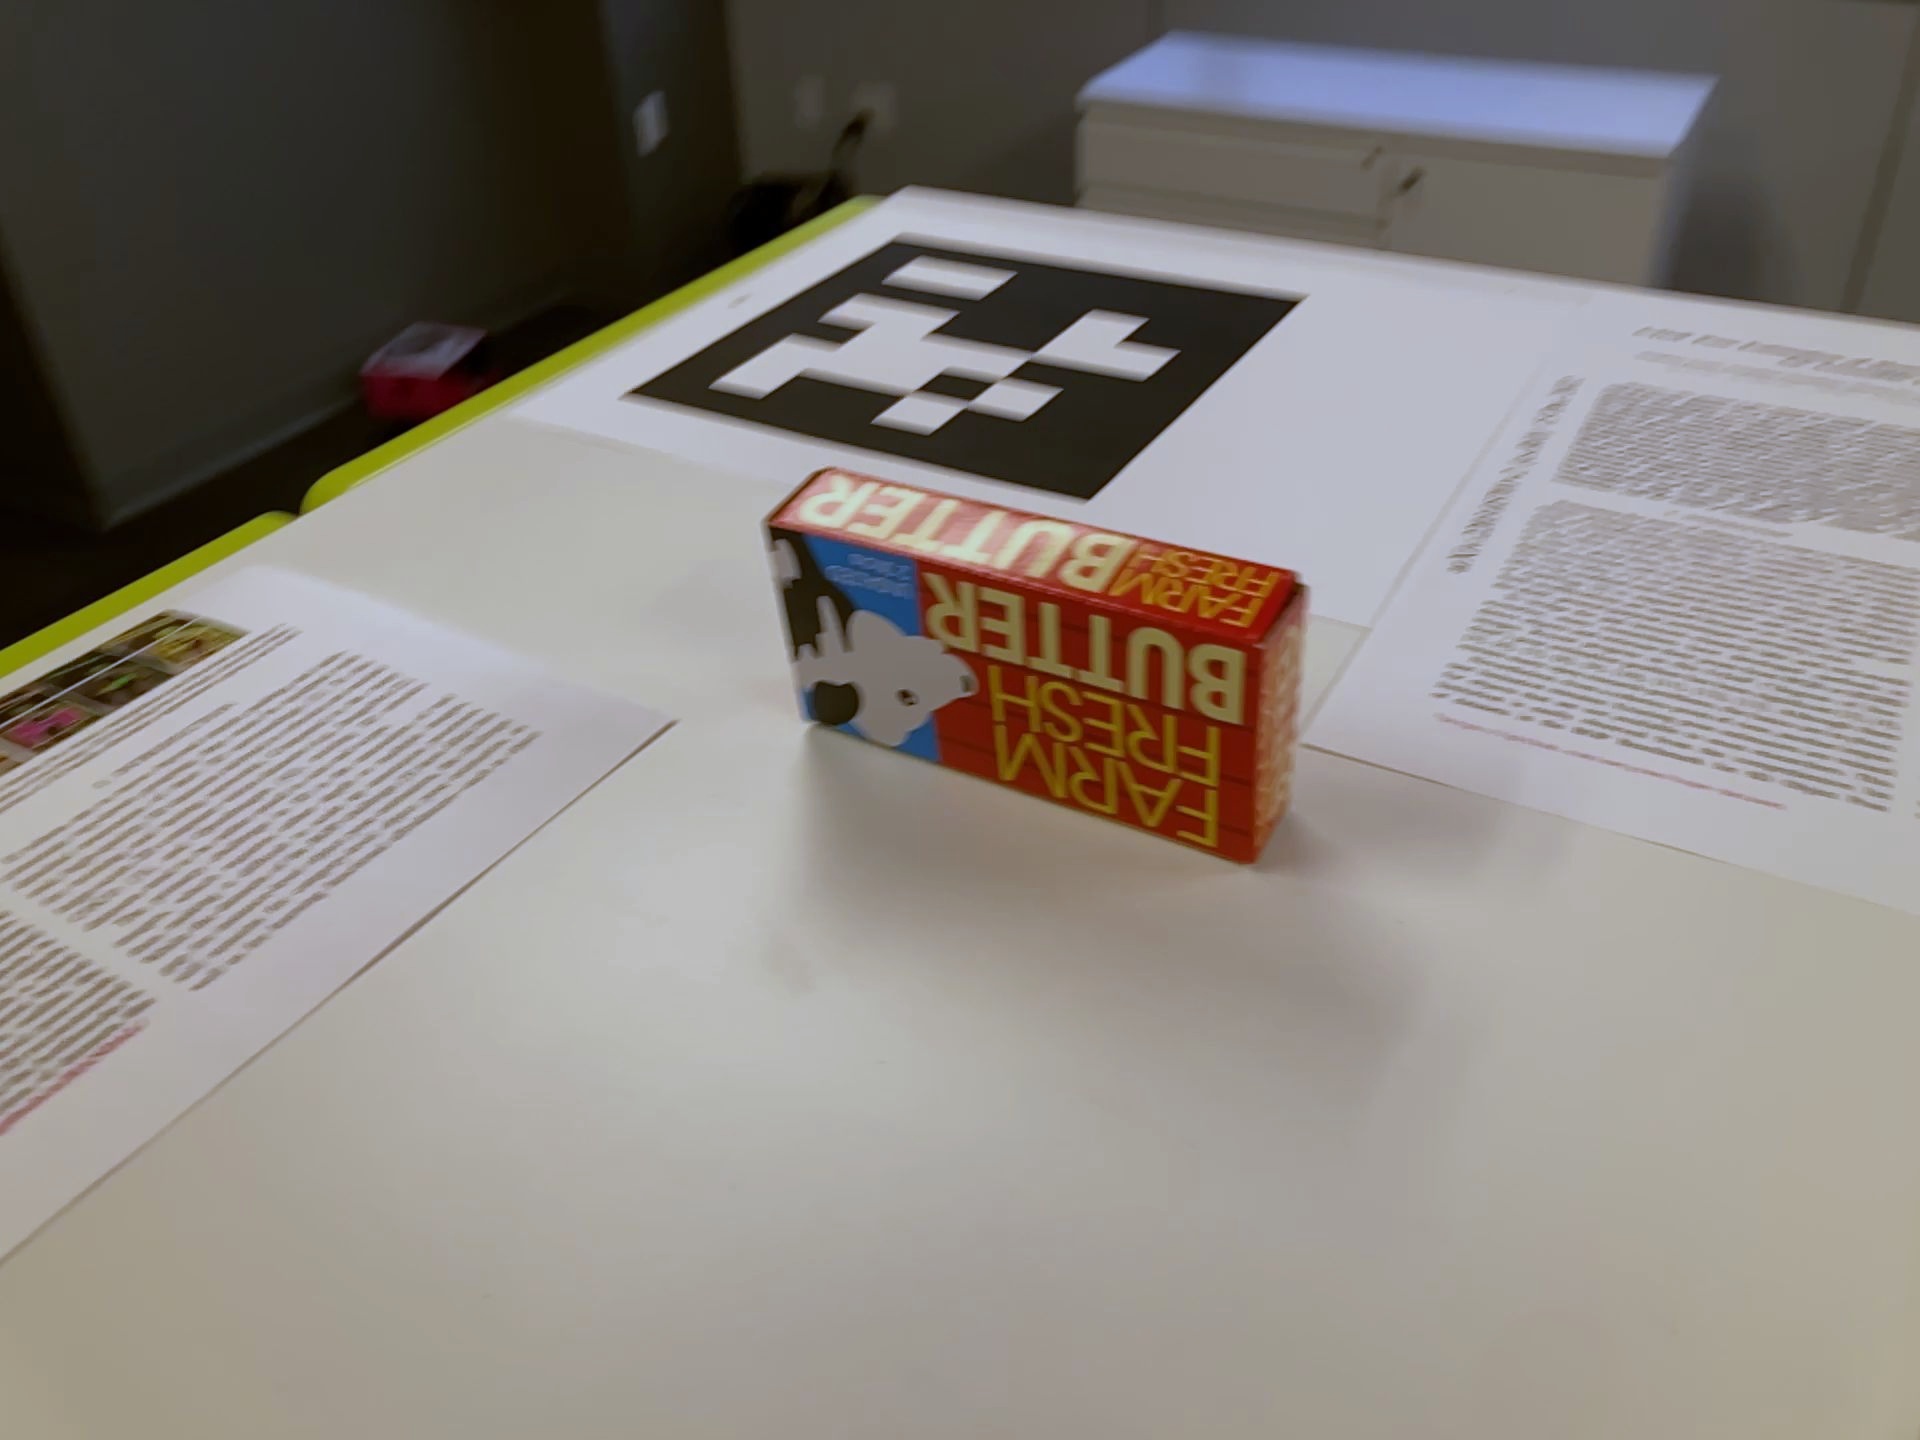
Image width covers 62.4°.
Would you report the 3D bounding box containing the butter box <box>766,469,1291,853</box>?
[{"bbox_3d":[0.013,-0.013,0.314,0.103,0.053,0.024,16,45,26],"label":"butter box"}]
